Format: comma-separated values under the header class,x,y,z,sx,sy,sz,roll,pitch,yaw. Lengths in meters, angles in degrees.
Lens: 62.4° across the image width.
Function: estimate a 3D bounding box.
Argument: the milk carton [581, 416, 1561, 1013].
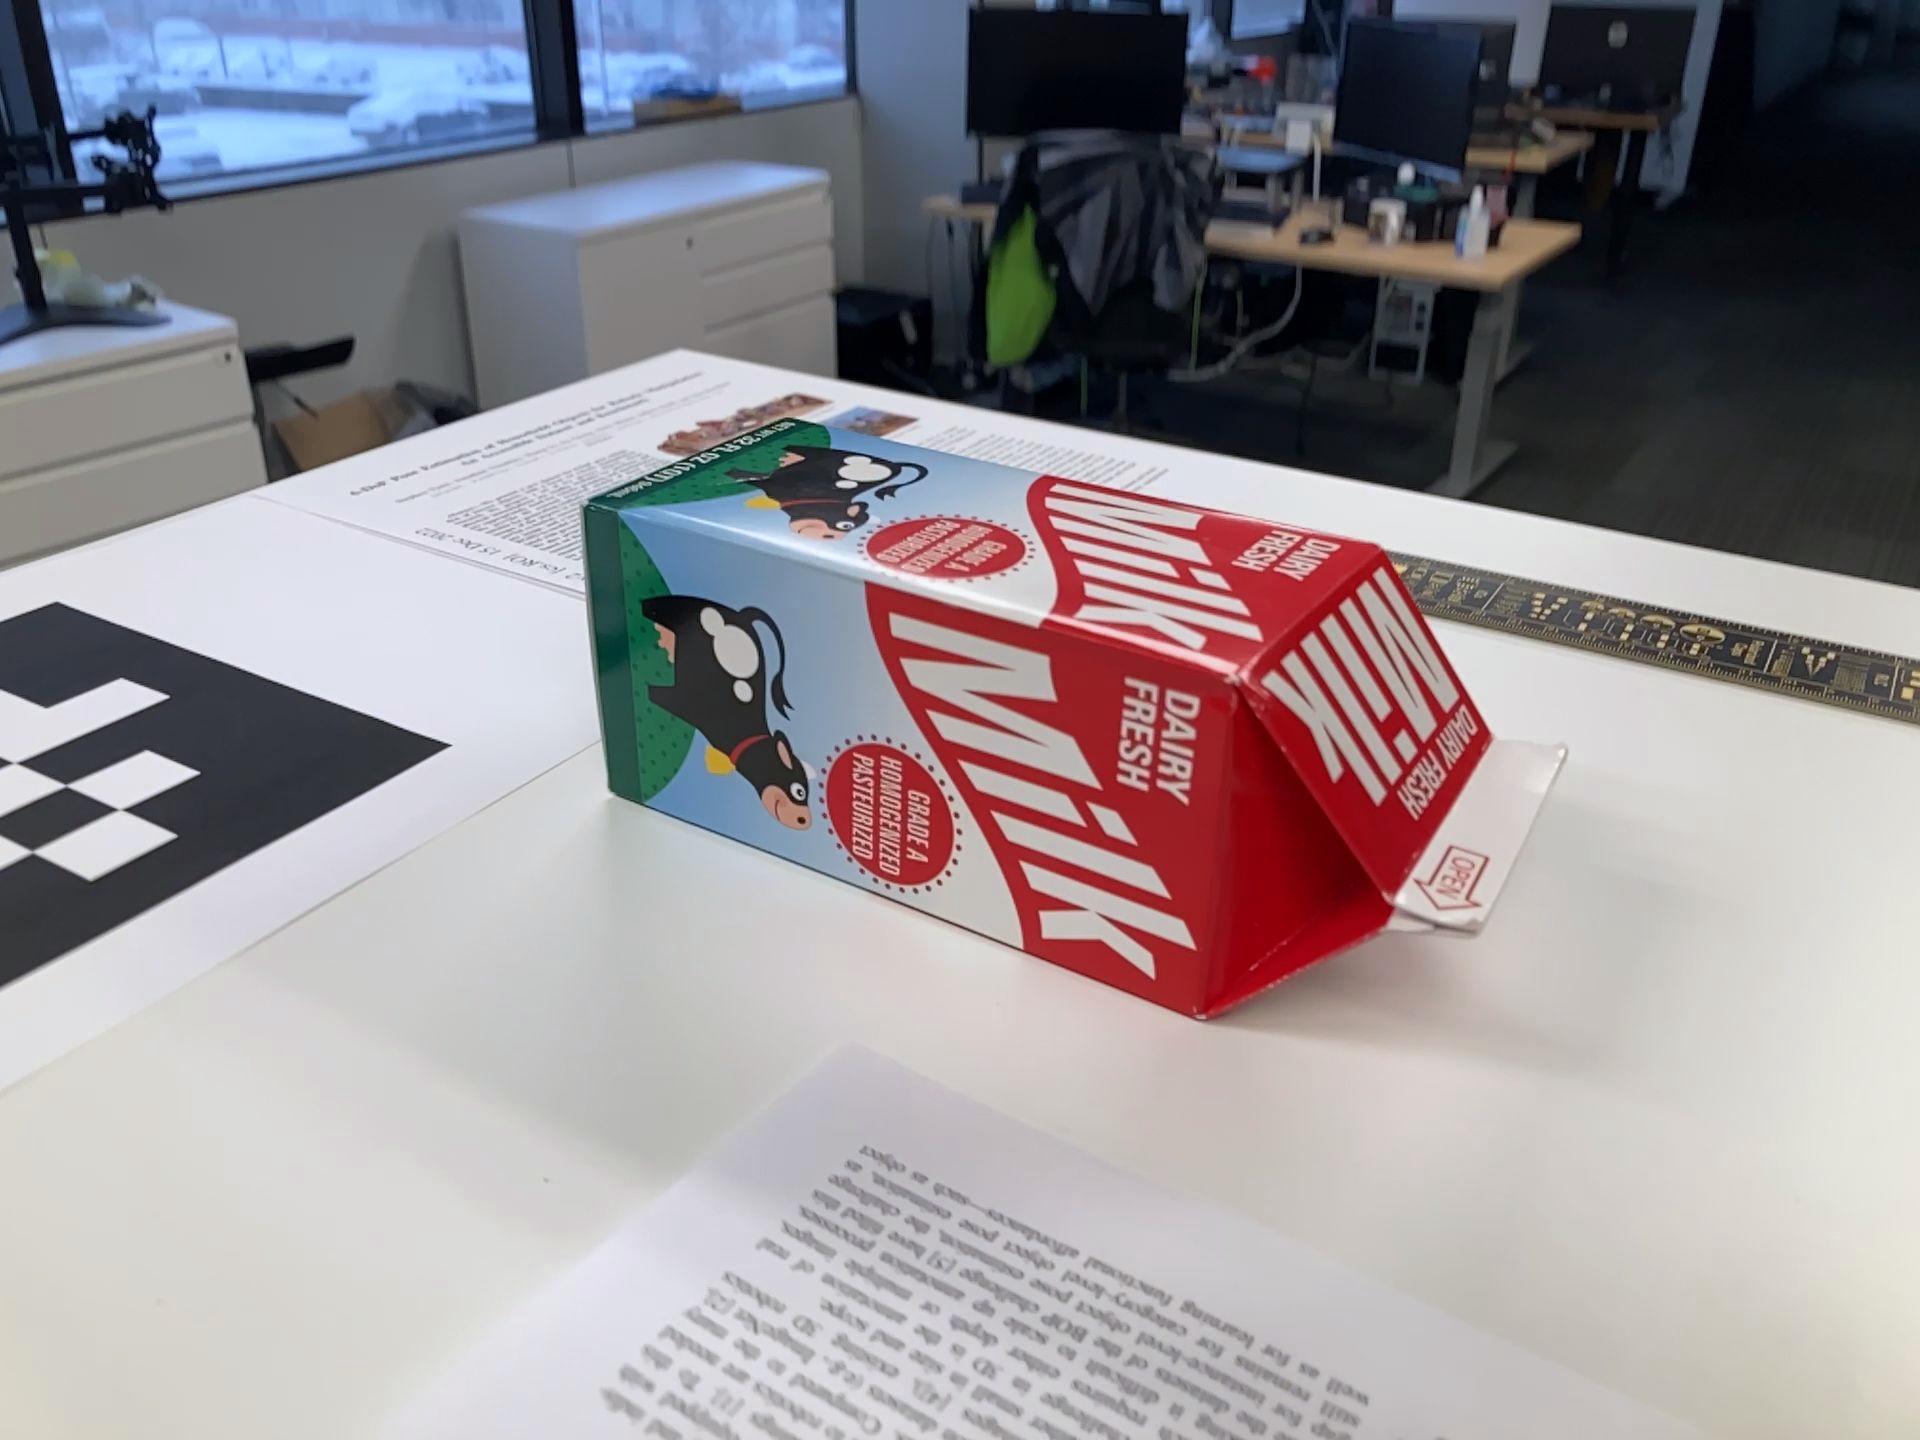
class,x,y,z,sx,sy,sz,roll,pitch,yaw
milk carton,0.018,-0.004,0.325,0.190,0.073,0.072,17,31,28
